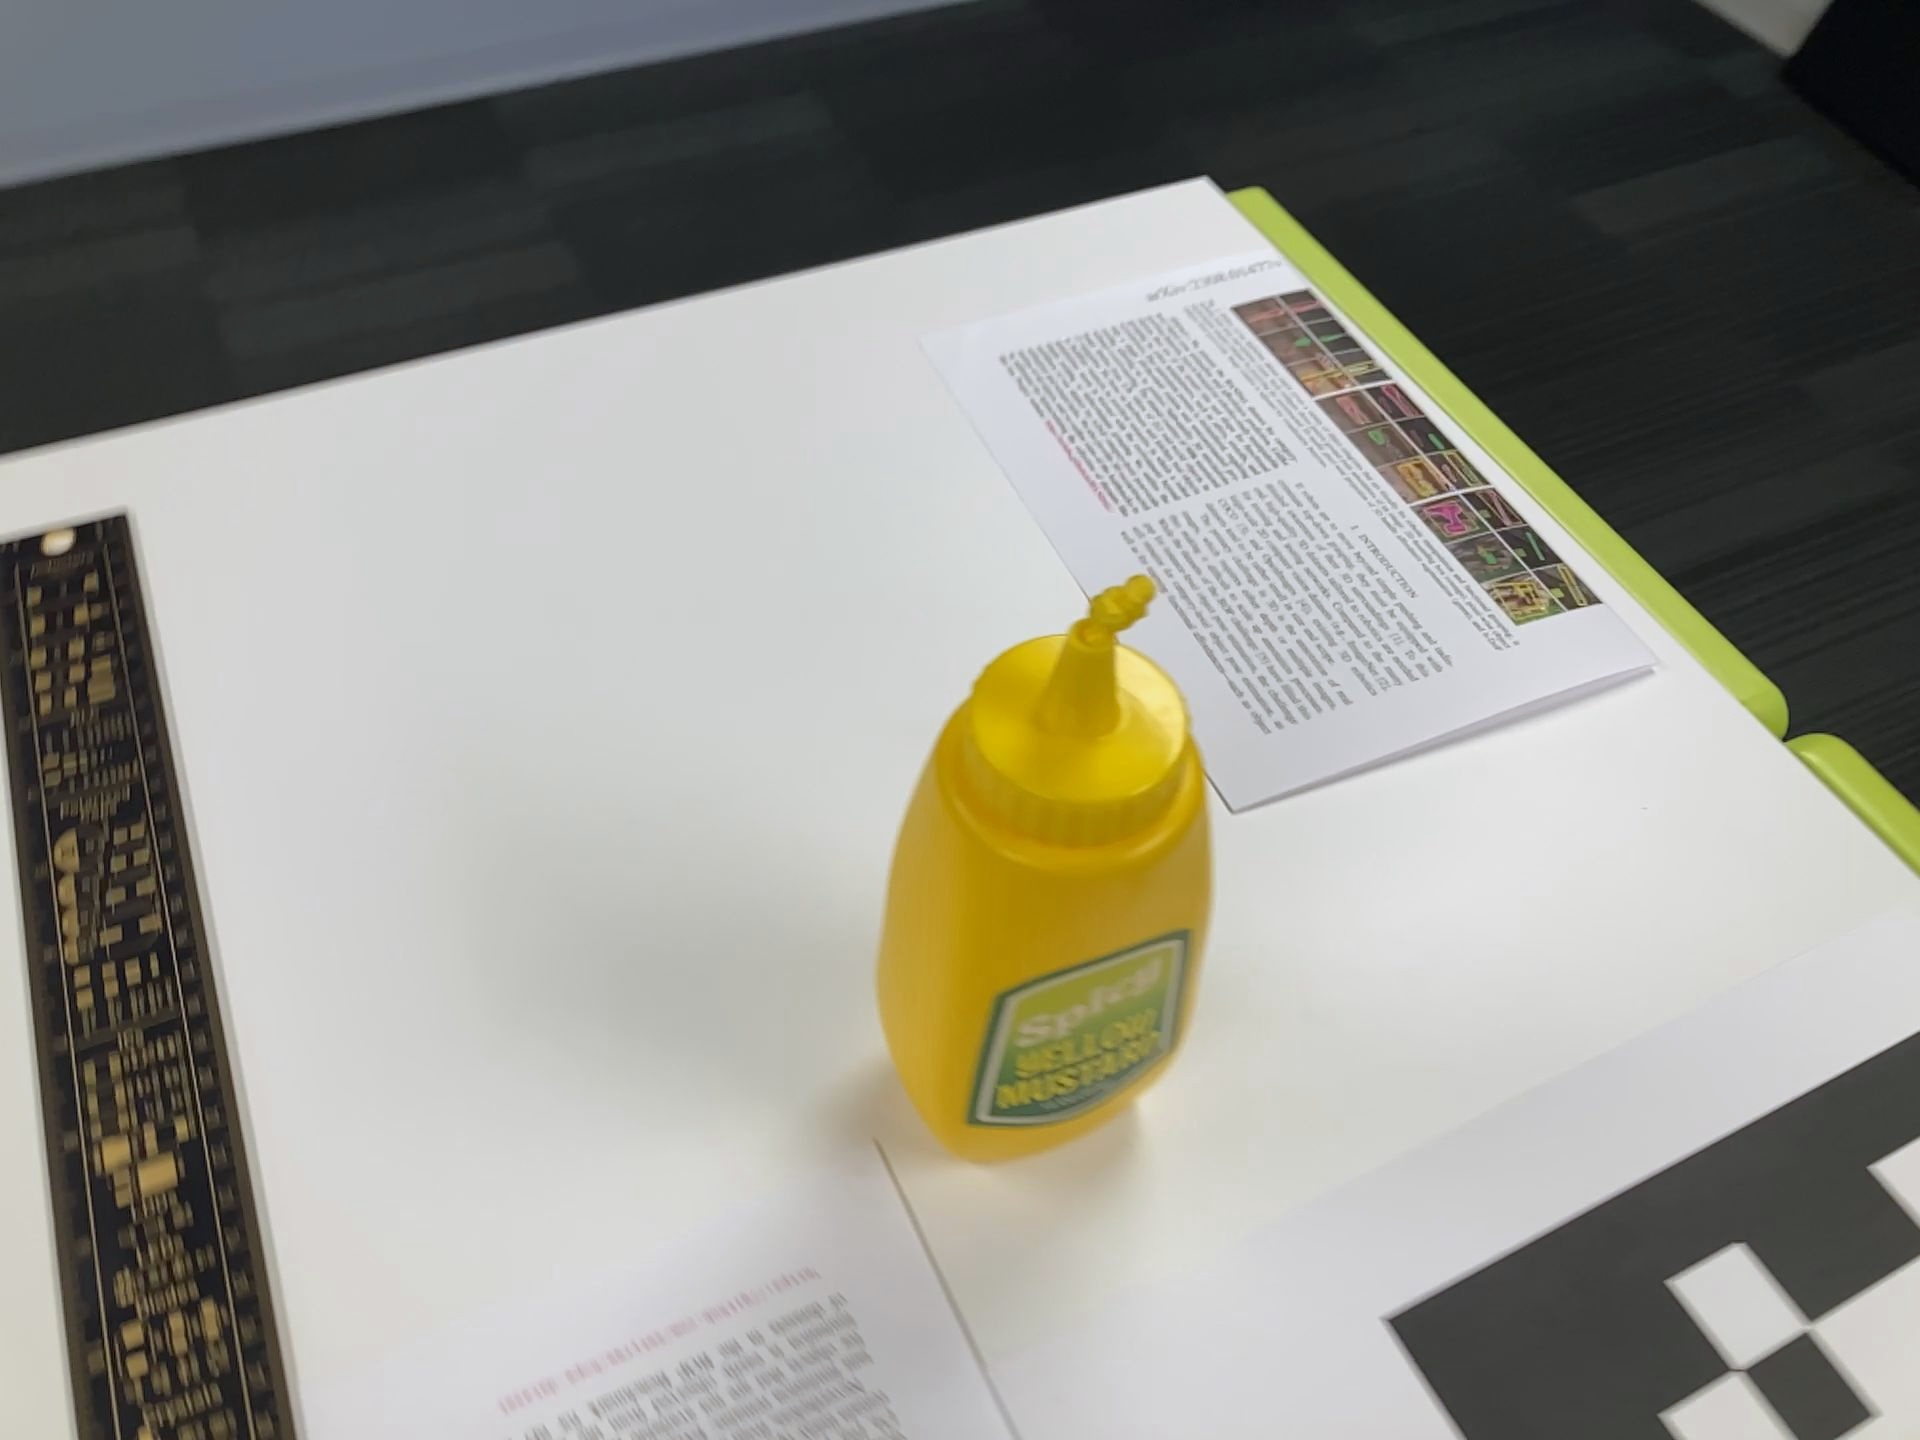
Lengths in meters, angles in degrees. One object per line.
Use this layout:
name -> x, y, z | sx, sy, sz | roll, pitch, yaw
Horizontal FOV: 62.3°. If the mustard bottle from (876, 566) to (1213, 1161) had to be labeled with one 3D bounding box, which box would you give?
mustard bottle -> 0.017, 0.031, 0.307 | 0.065, 0.160, 0.049 | -16, 54, -15
